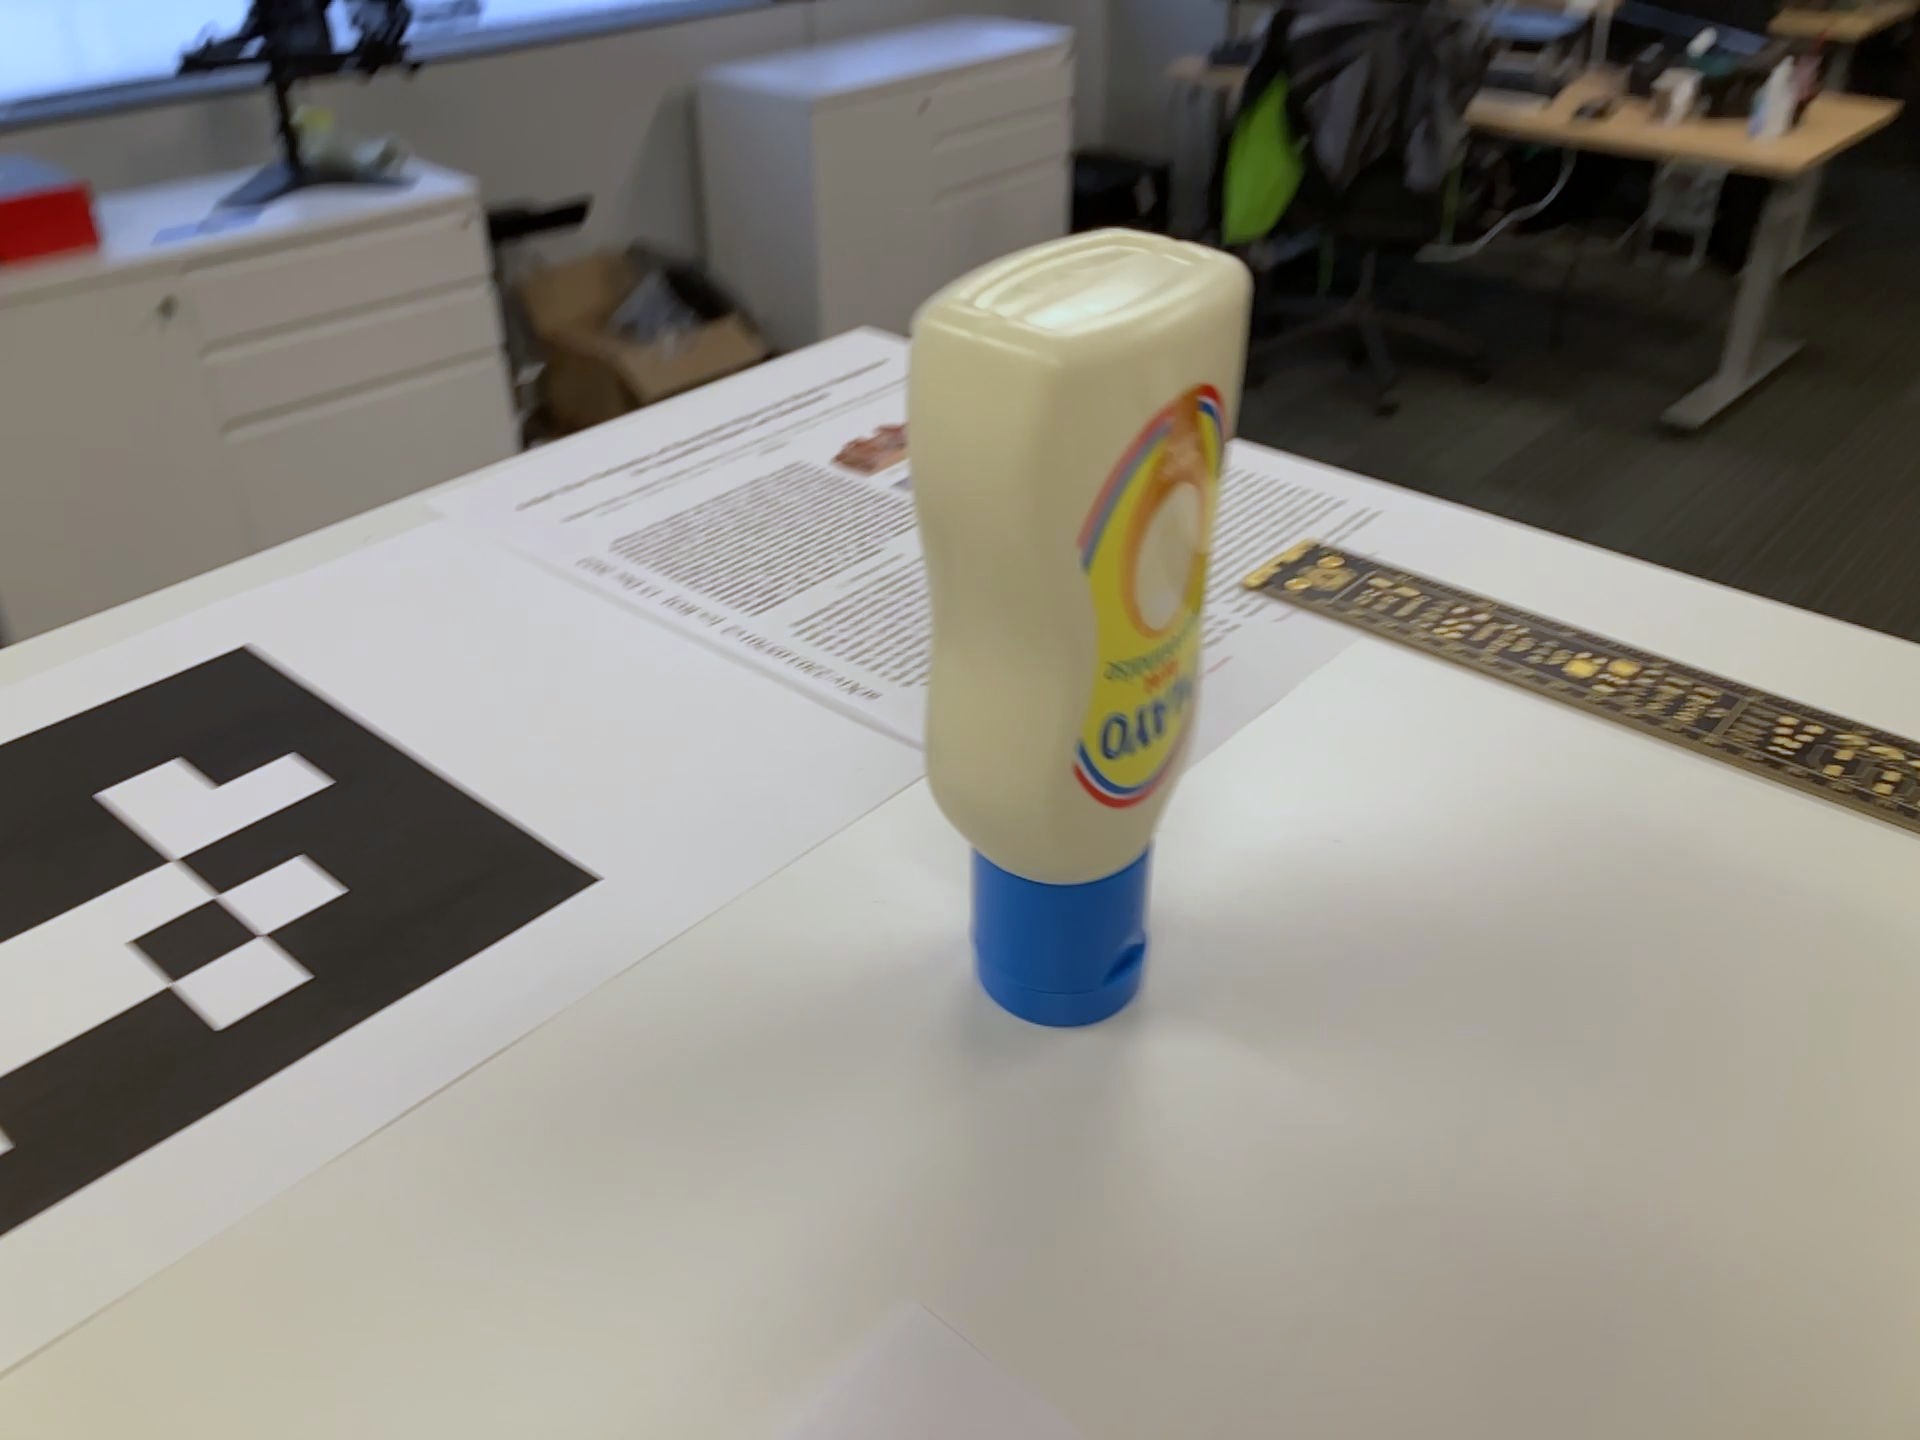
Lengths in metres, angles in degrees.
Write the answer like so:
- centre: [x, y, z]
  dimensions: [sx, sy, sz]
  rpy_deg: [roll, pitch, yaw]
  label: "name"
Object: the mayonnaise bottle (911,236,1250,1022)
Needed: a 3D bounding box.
- centre: [0.021, -0.009, 0.297]
  dimensions: [0.041, 0.148, 0.065]
  rpy_deg: [24, 41, 33]
  label: "mayonnaise bottle"
